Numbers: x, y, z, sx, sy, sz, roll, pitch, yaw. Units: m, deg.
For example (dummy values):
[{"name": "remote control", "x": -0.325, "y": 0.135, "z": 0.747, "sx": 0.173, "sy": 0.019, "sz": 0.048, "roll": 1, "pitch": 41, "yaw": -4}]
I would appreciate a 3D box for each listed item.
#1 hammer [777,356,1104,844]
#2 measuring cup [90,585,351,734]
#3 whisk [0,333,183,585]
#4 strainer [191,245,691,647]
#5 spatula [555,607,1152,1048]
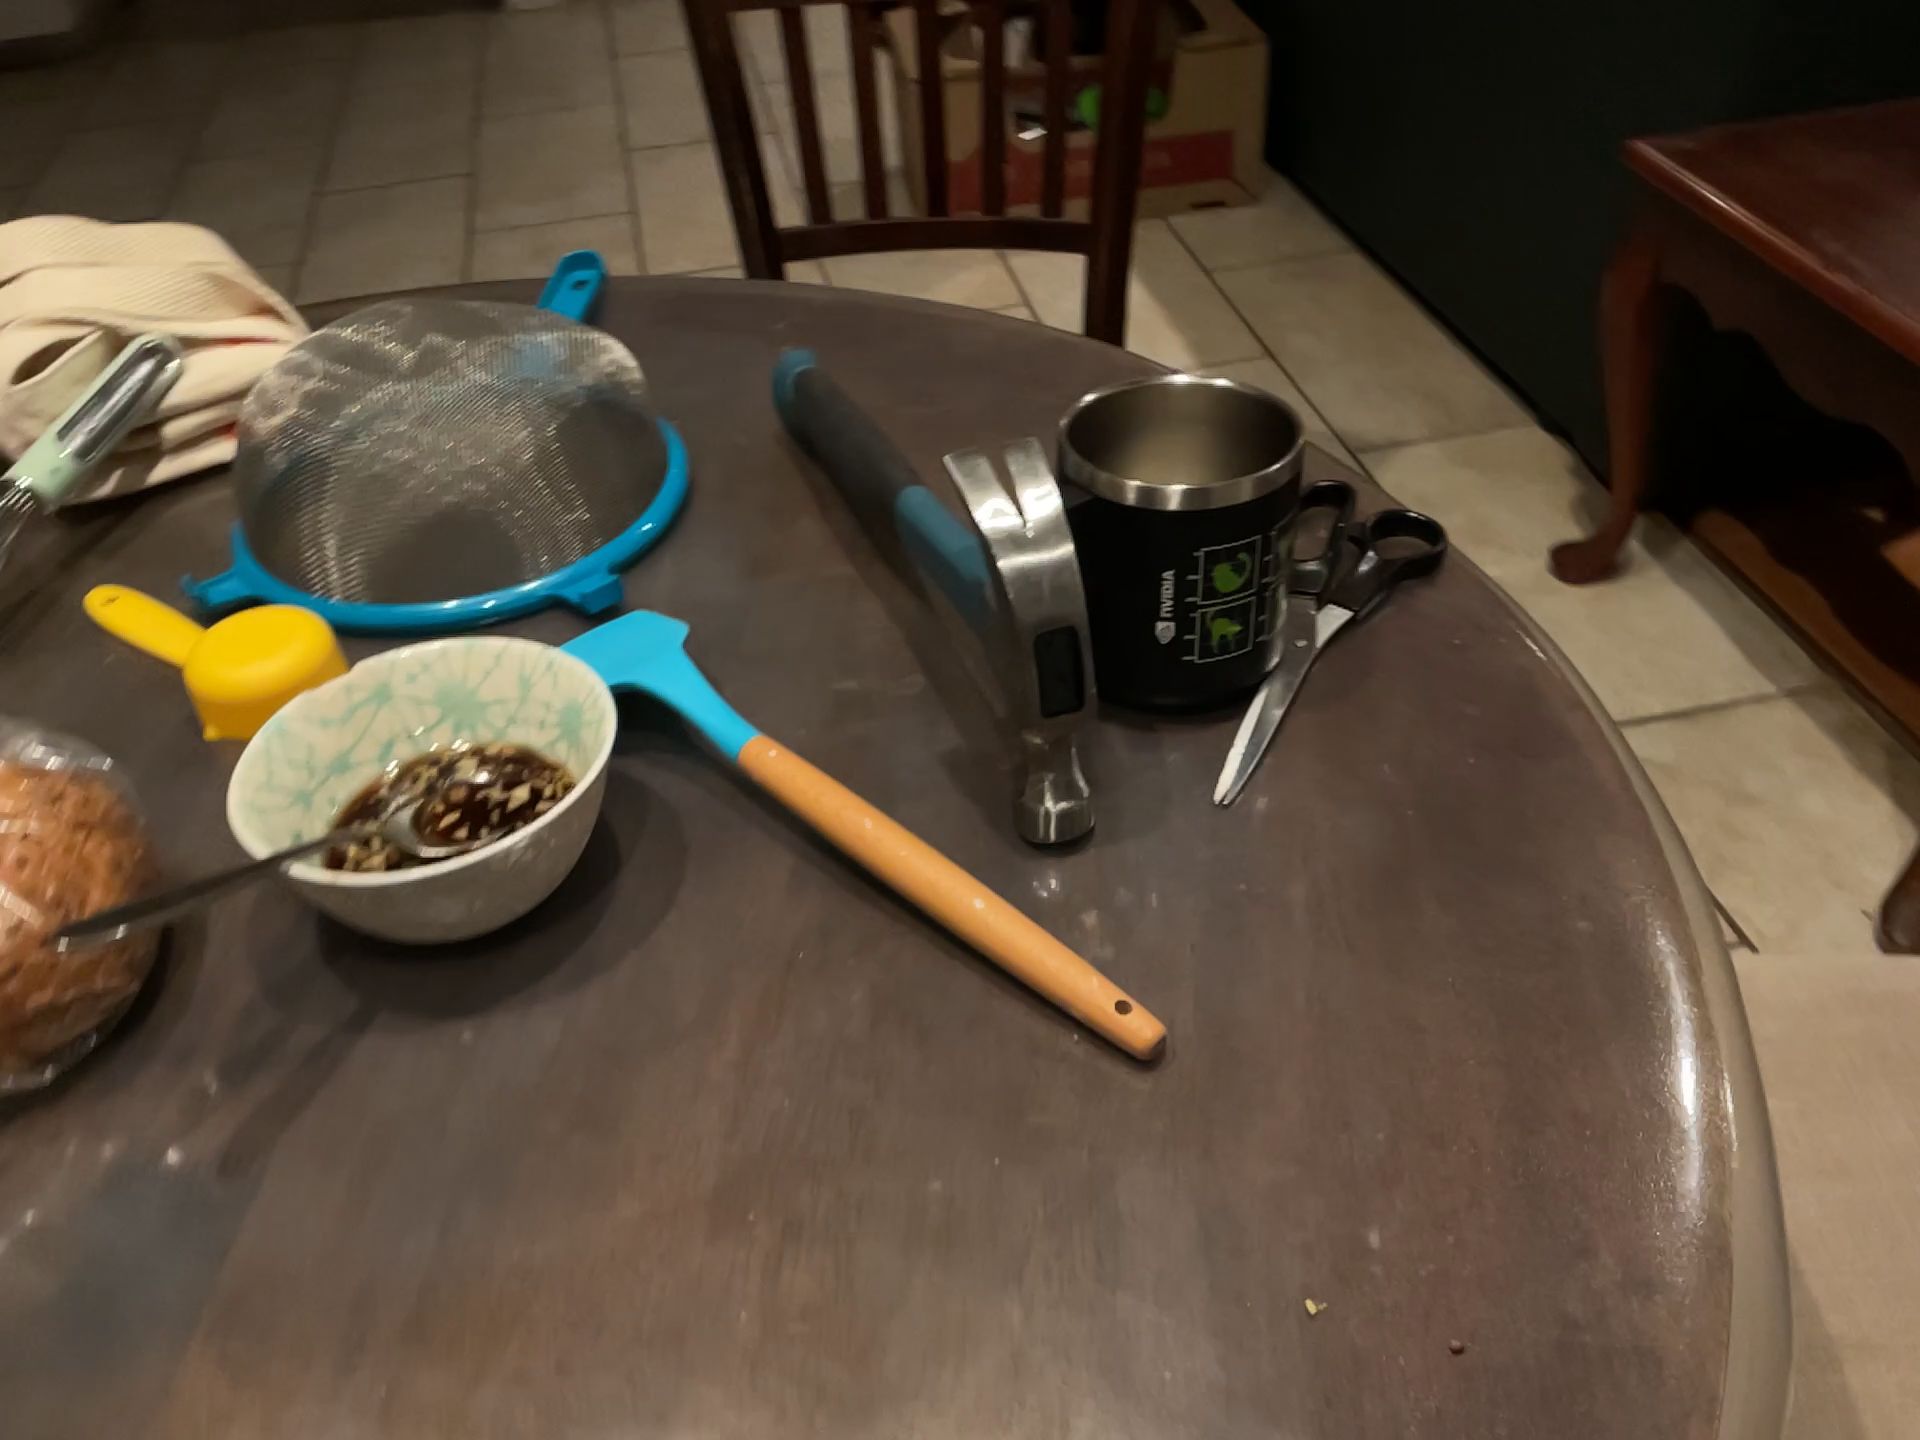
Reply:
[{"name": "hammer", "x": -0.020, "y": -0.086, "z": 0.660, "sx": 0.033, "sy": 0.128, "sz": 0.331, "roll": -14, "pitch": 31, "yaw": -16}, {"name": "measuring cup", "x": -0.319, "y": -0.039, "z": 0.669, "sx": 0.156, "sy": 0.029, "sz": 0.062, "roll": 22, "pitch": 46, "yaw": 27}, {"name": "whisk", "x": -0.419, "y": -0.096, "z": 0.711, "sx": 0.059, "sy": 0.057, "sz": 0.246, "roll": -17, "pitch": 39, "yaw": 35}, {"name": "strainer", "x": -0.231, "y": -0.178, "z": 0.782, "sx": 0.211, "sy": 0.095, "sz": 0.341, "roll": 1, "pitch": 44, "yaw": 5}, {"name": "spatula", "x": -0.058, "y": 0.029, "z": 0.574, "sx": 0.317, "sy": 0.044, "sz": 0.082, "roll": 33, "pitch": 51, "yaw": 31}]
